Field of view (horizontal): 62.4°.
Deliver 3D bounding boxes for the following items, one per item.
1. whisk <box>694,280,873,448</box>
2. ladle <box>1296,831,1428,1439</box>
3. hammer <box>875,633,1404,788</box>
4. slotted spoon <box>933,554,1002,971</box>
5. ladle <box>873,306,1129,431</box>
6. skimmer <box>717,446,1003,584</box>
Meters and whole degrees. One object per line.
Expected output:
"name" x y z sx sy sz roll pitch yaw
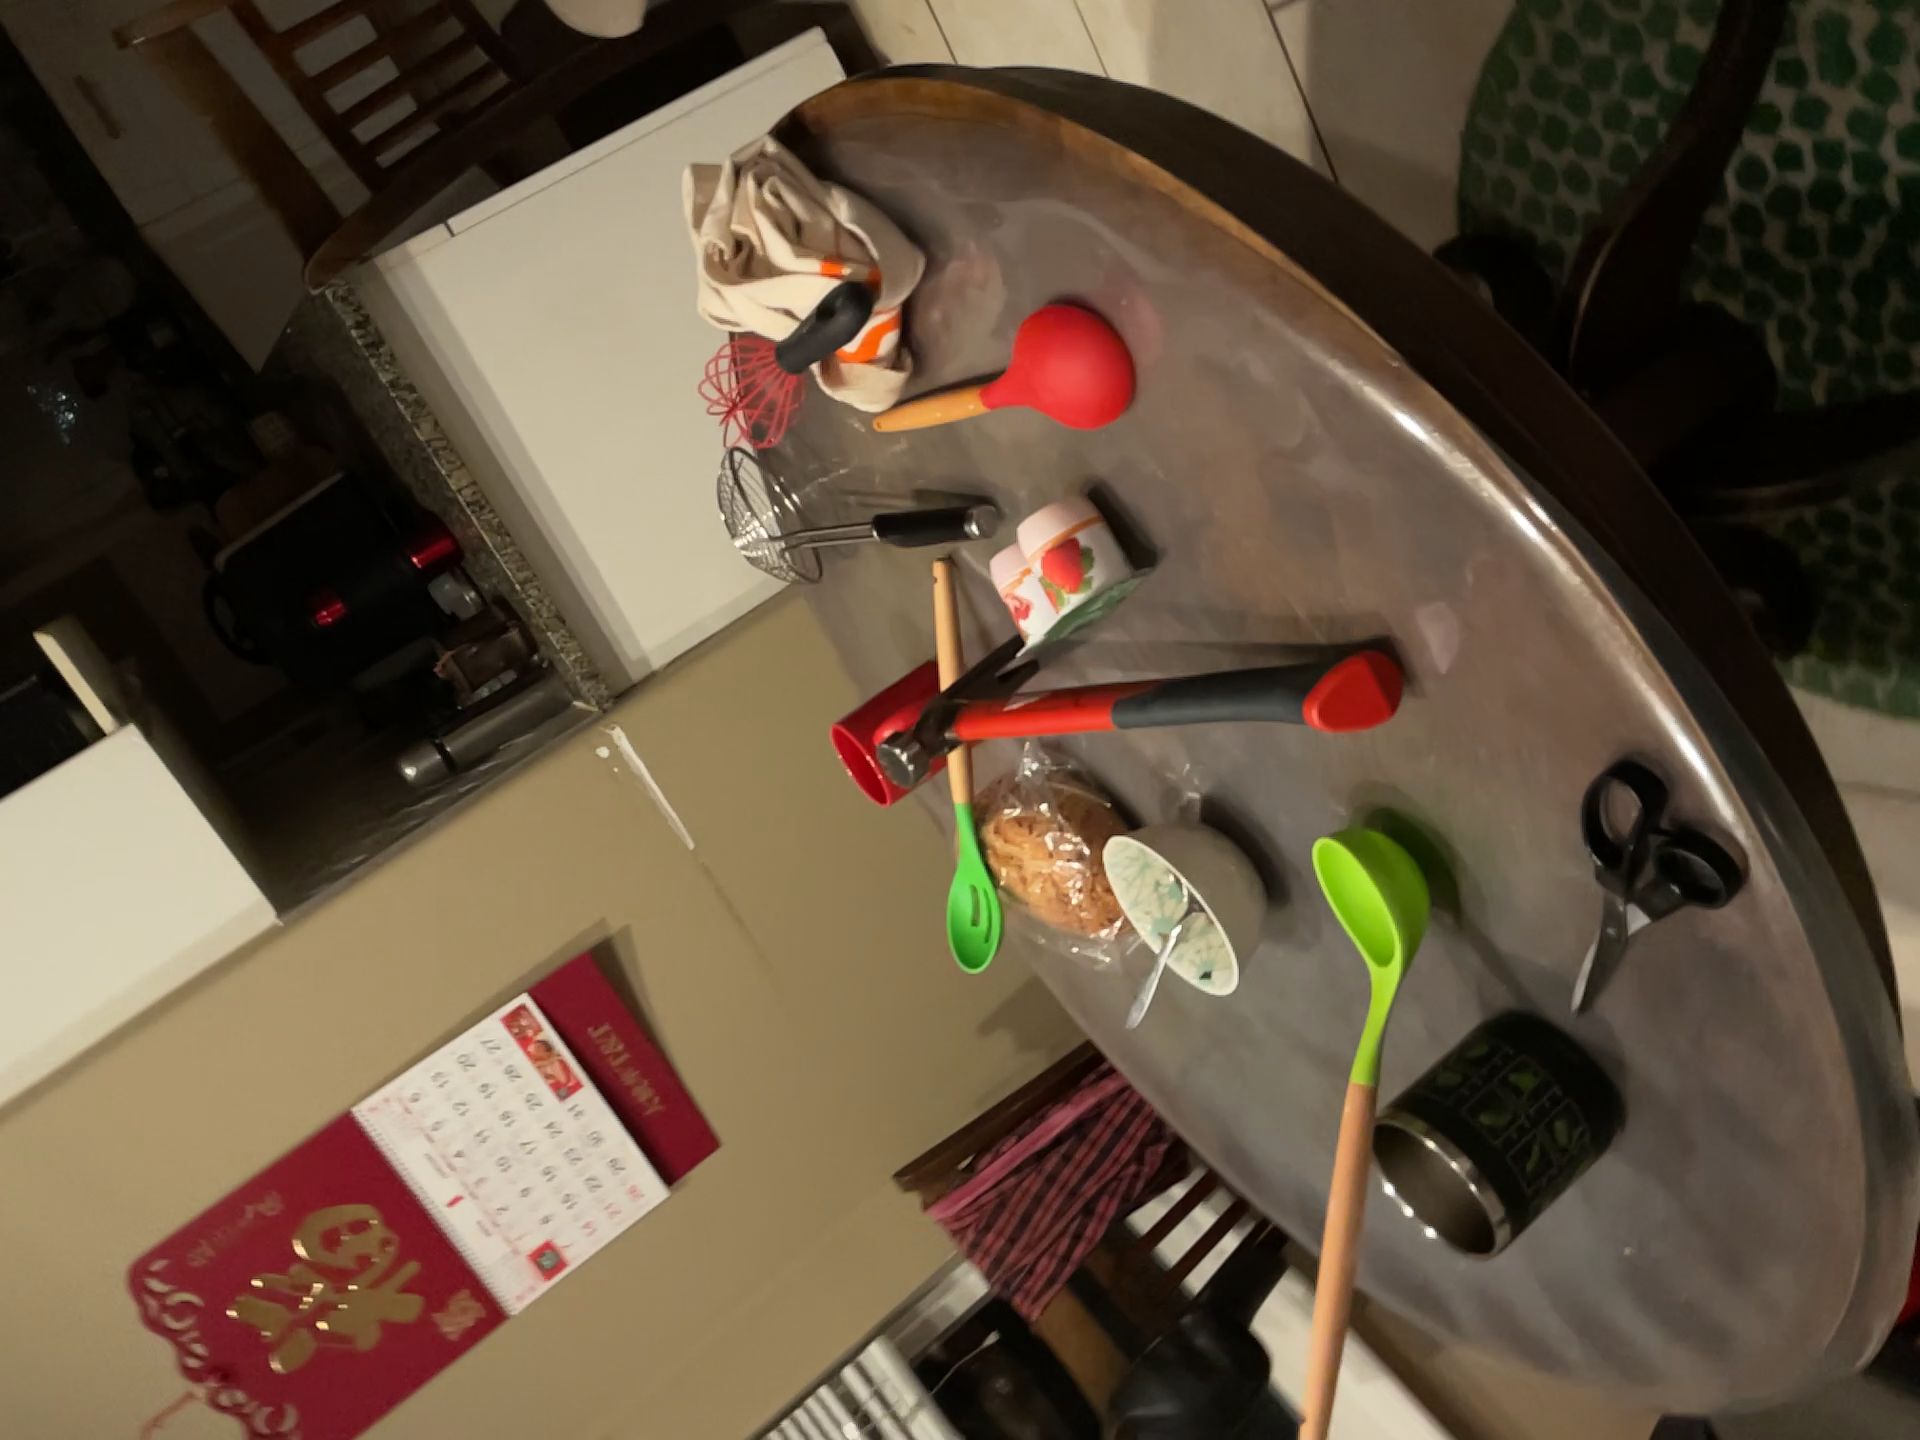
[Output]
"whisk" -0.111 -0.225 0.997 0.073 0.073 0.296 59 160 -10
"ladle" 0.195 0.218 0.830 0.062 0.320 0.078 11 173 -4
"hammer" 0.103 -0.017 0.918 0.387 0.143 0.038 -5 121 55
"slotted spoon" 0.001 0.034 1.163 0.070 0.031 0.313 17 116 54
"ladle" 0.007 -0.190 0.930 0.069 0.031 0.316 61 162 -16
"skimmer" -0.071 -0.156 1.168 0.364 0.090 0.127 4 136 53
